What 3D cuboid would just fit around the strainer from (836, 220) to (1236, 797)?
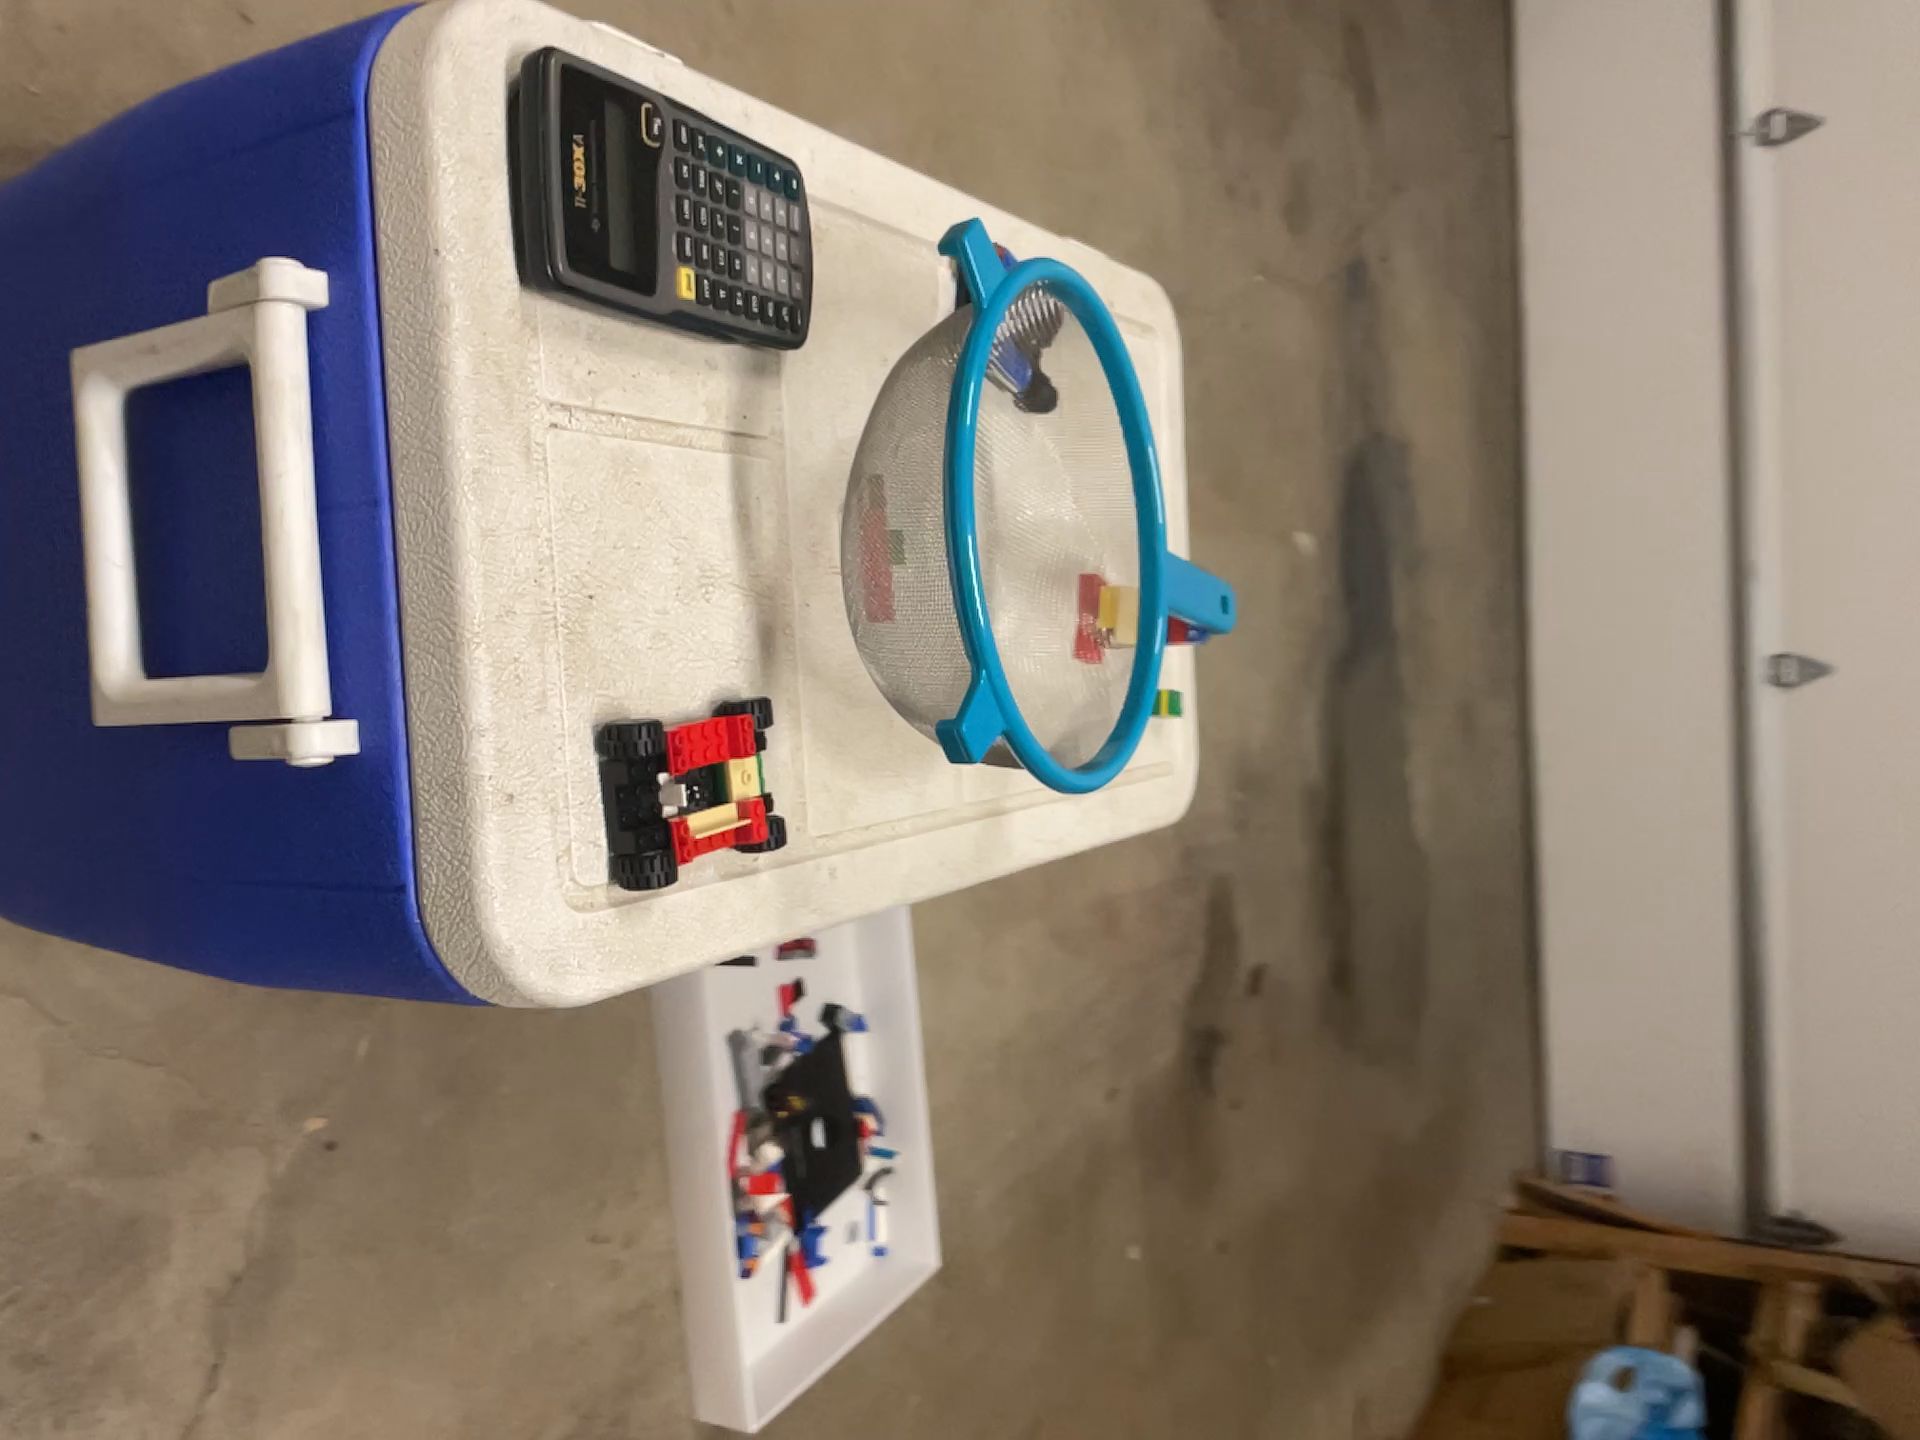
[{"bbox_3d":[0.036,-0.069,0.708,0.340,0.095,0.211,10,79,-65],"label":"strainer"}]
